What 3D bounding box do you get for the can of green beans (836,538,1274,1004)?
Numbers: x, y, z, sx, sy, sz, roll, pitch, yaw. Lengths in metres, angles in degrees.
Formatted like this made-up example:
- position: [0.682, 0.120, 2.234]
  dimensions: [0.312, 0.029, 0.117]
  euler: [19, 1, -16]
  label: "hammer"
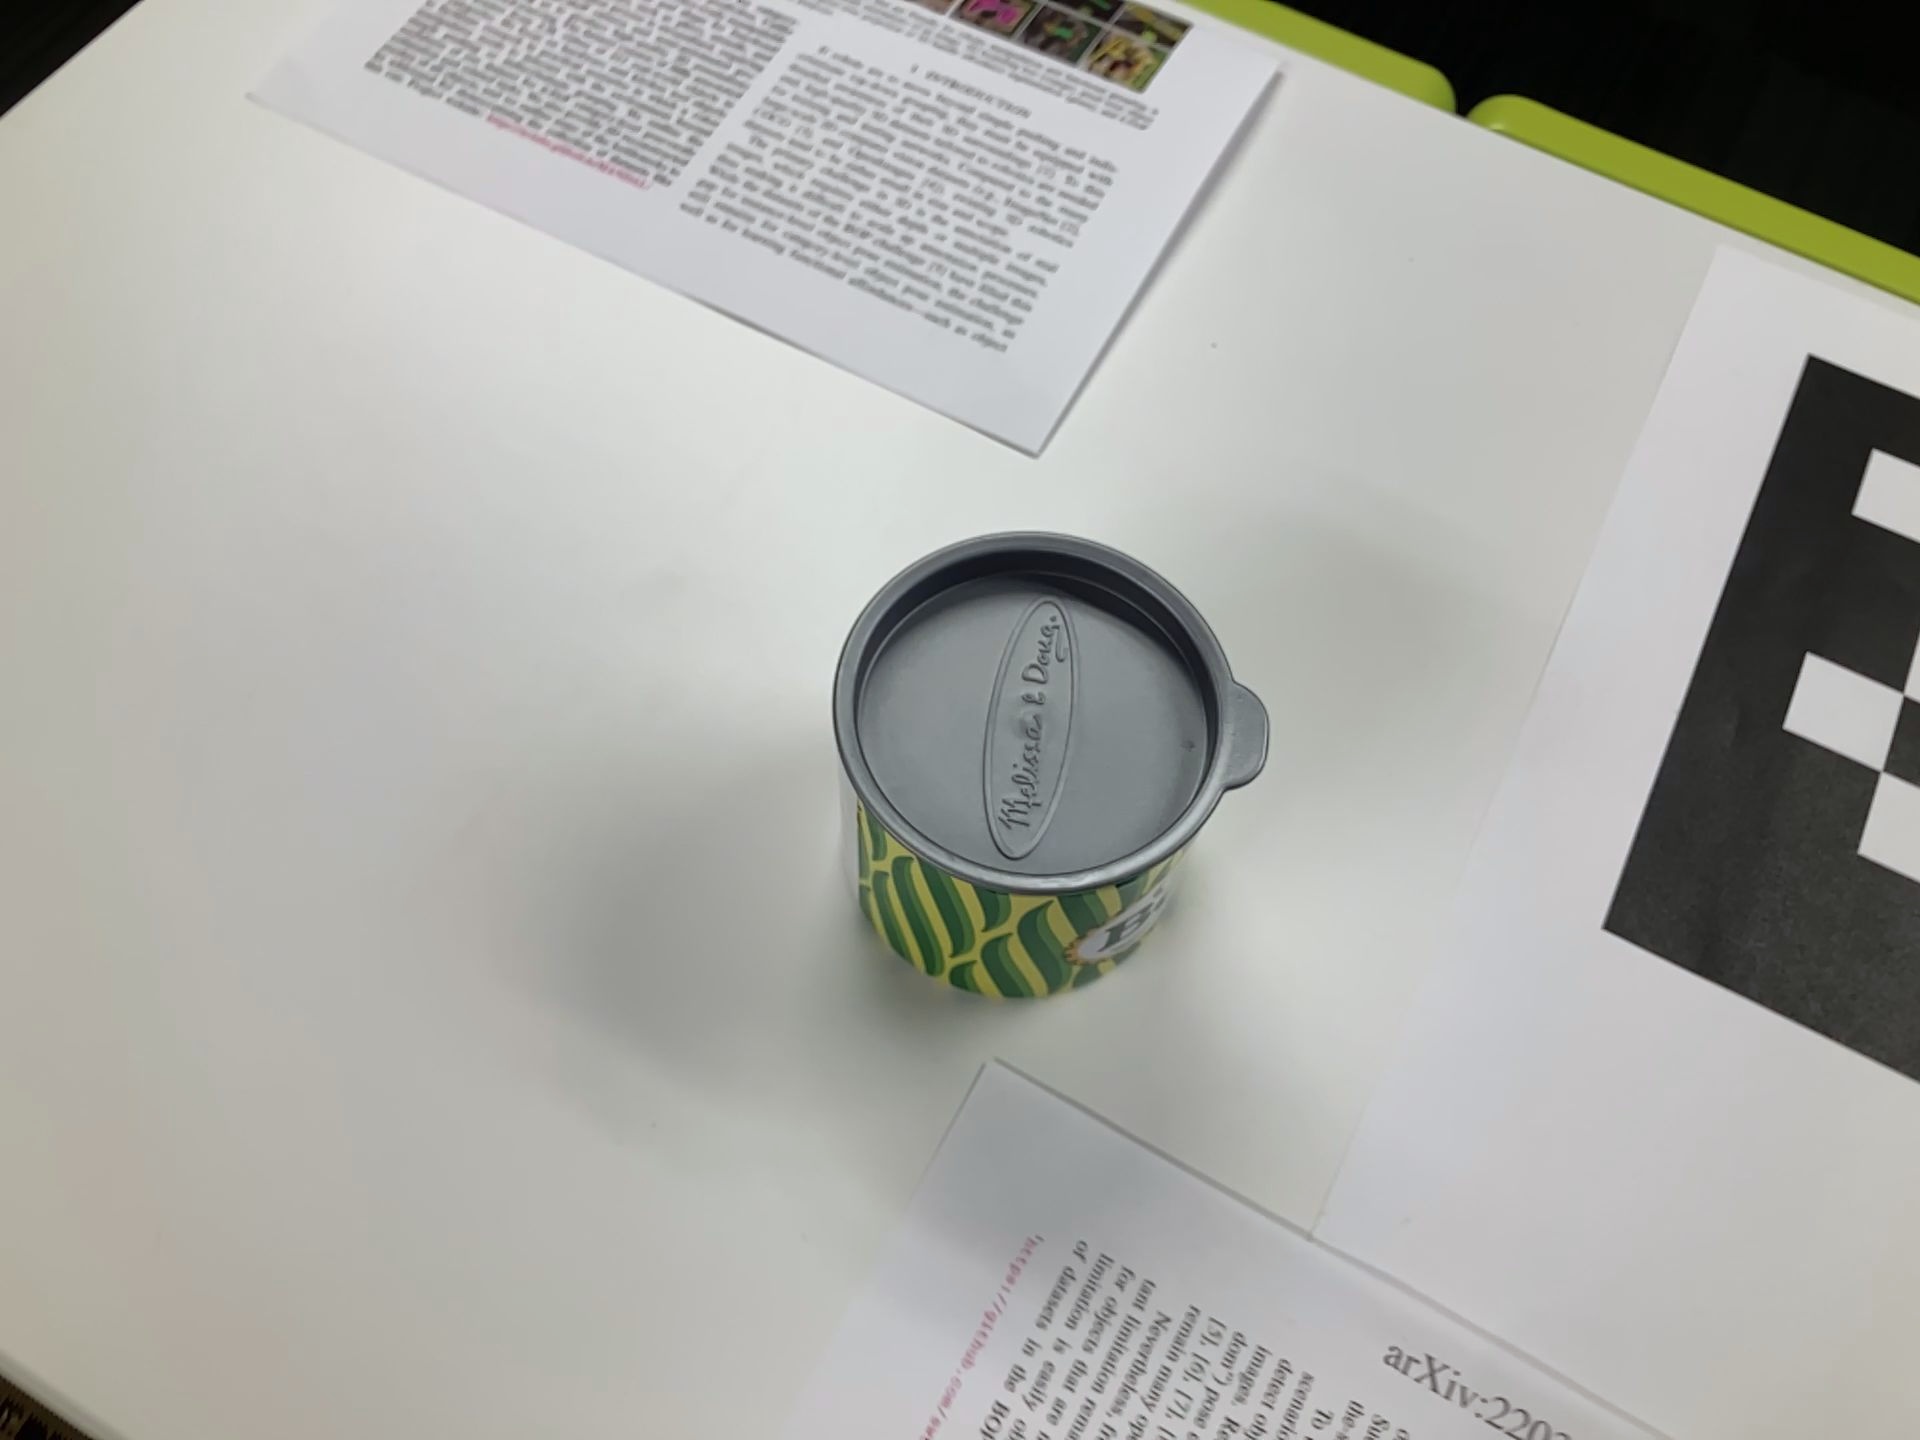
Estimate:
- position: [0.012, 0.011, 0.284]
  dimensions: [0.071, 0.058, 0.071]
  euler: [1, 63, -2]
  label: "can of green beans"
